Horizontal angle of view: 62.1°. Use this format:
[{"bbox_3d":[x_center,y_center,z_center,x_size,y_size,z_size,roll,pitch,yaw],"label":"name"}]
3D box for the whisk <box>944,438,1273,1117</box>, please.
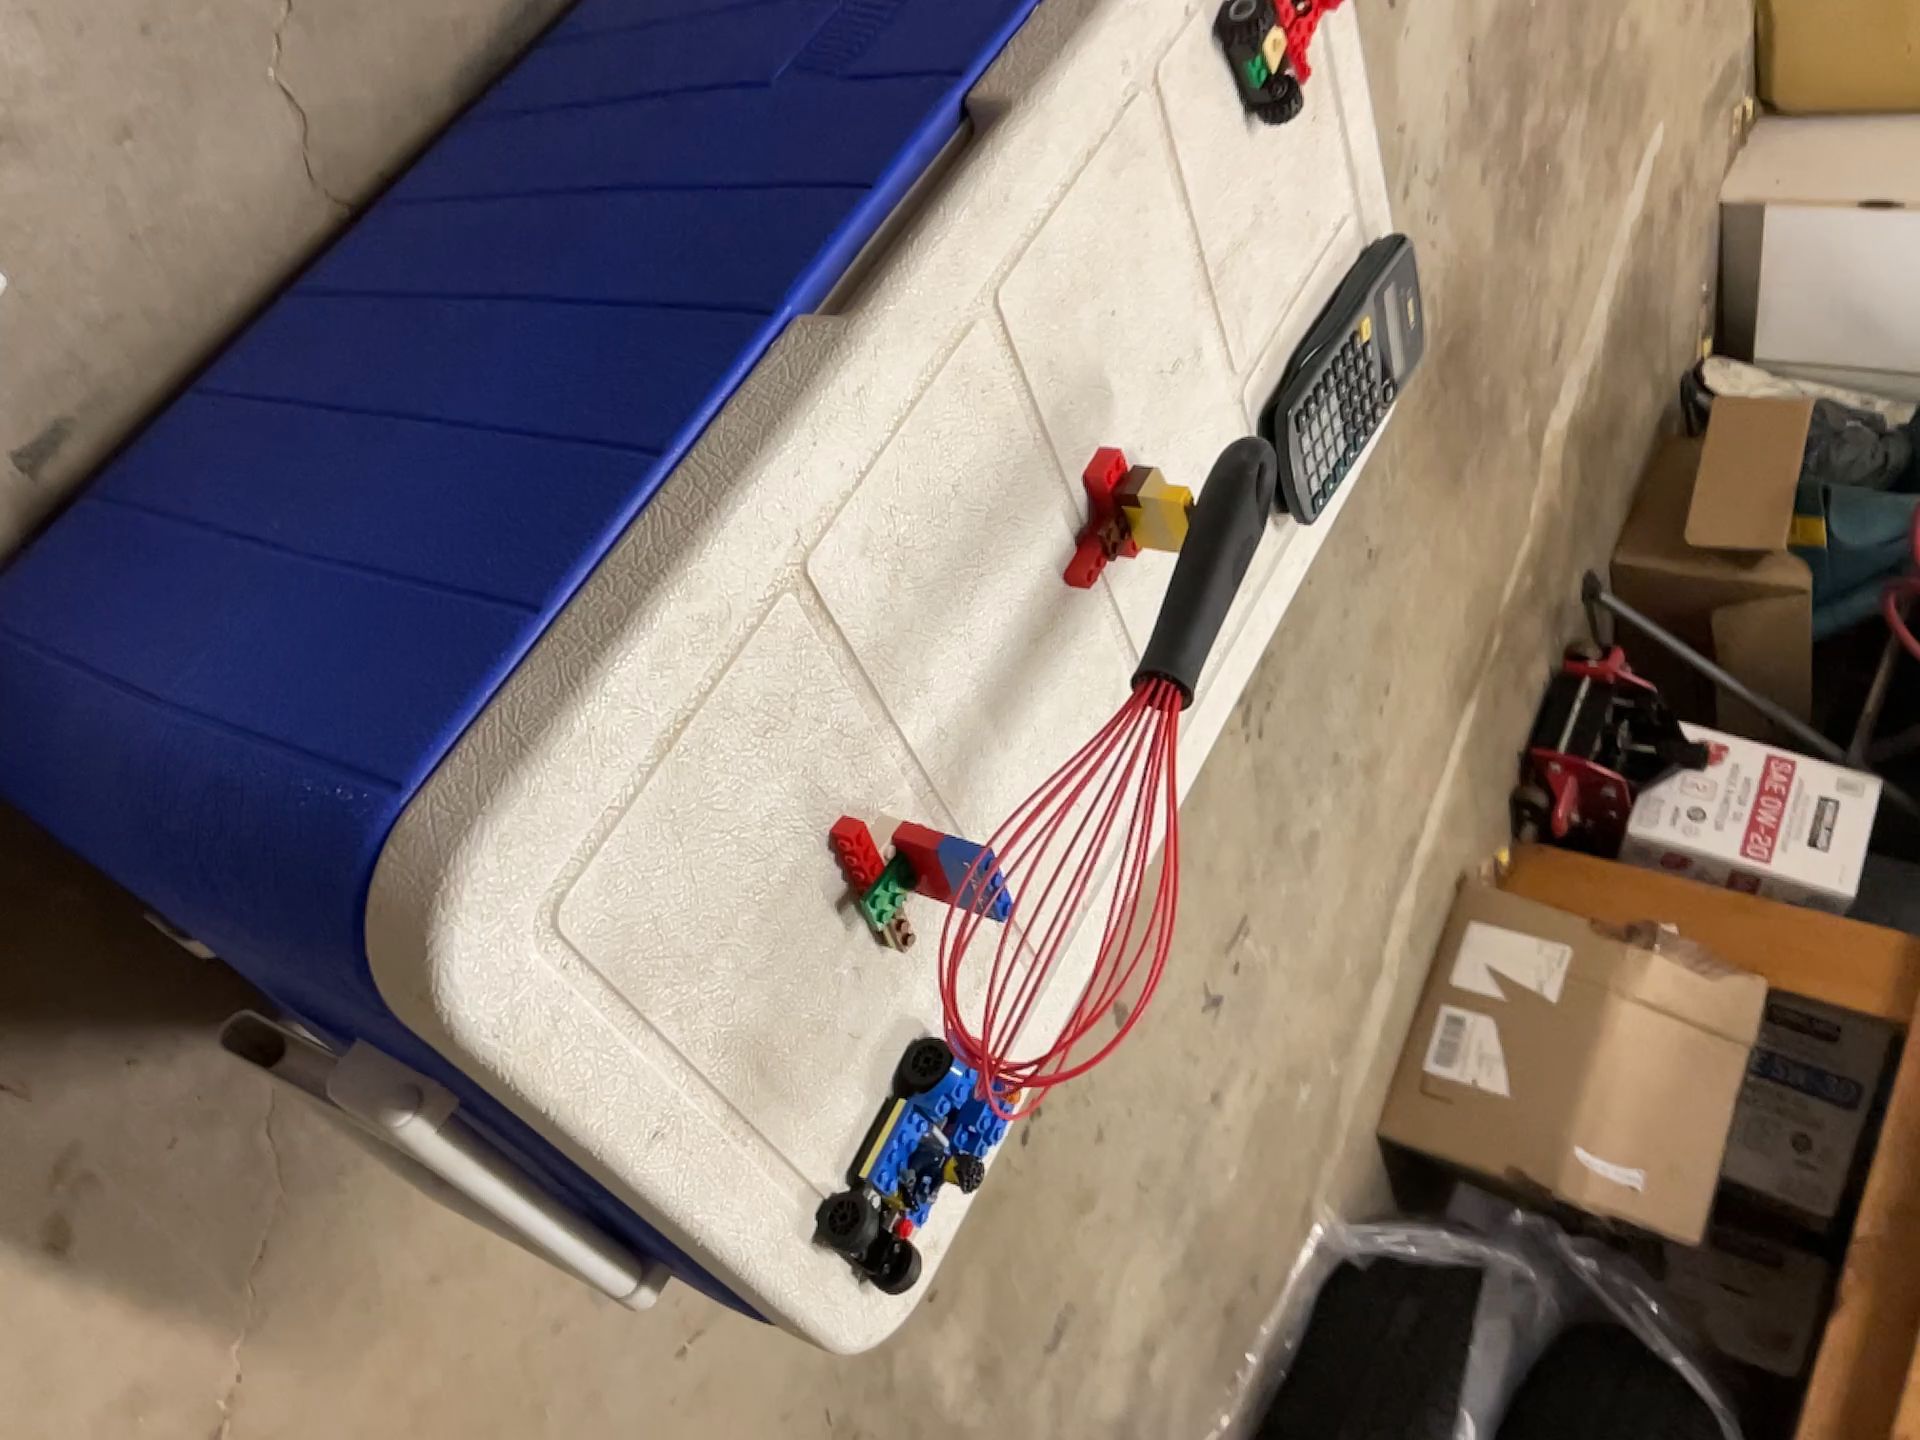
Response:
[{"bbox_3d":[0.064,0.004,0.562,0.073,0.073,0.296,60,44,-42],"label":"whisk"}]
